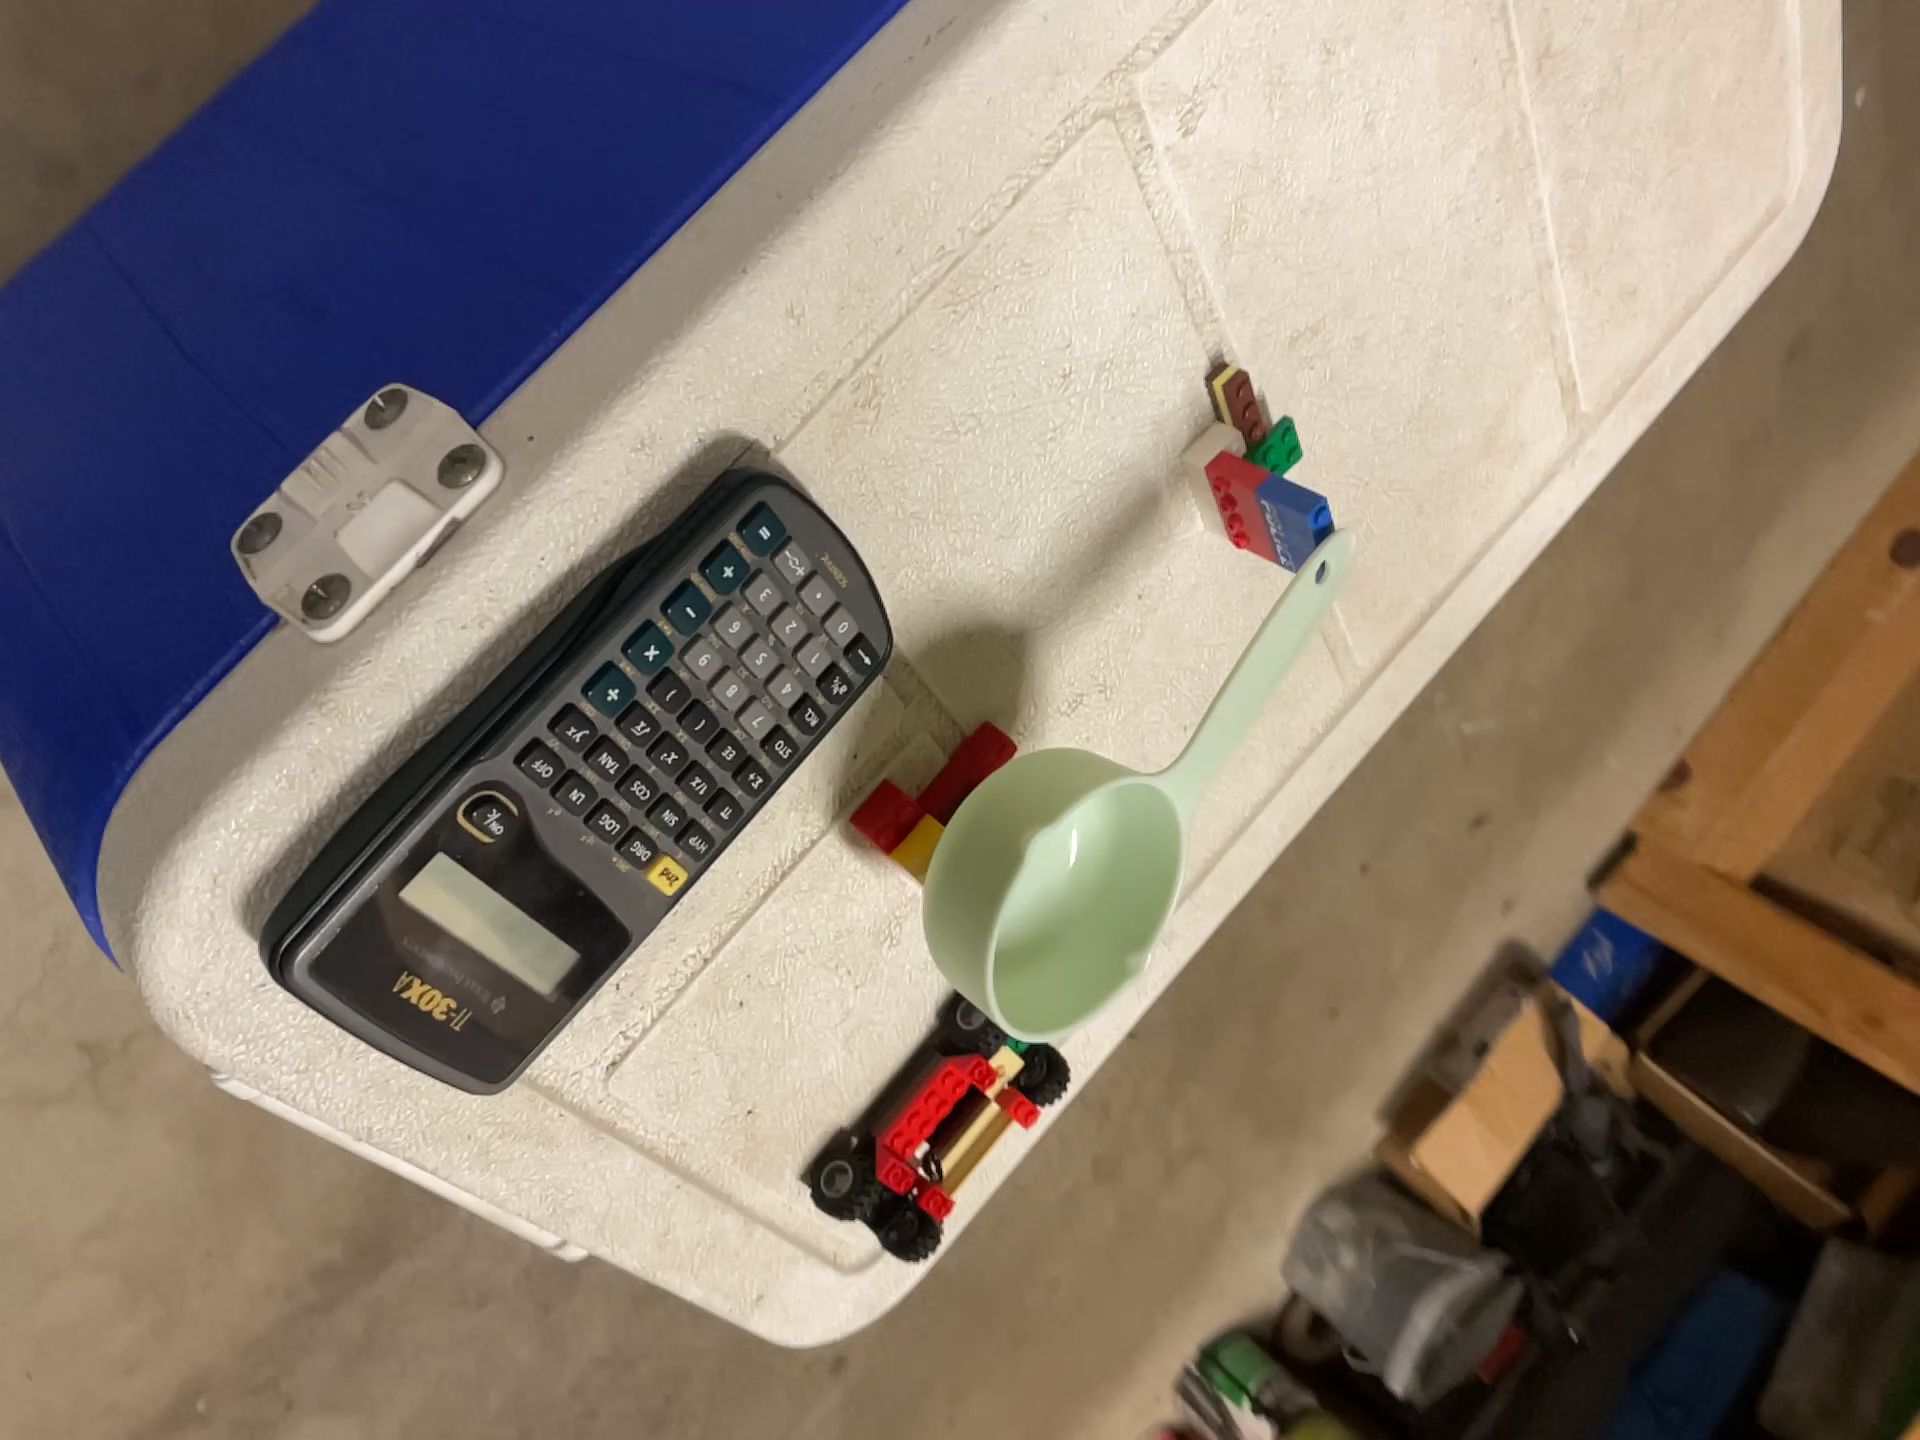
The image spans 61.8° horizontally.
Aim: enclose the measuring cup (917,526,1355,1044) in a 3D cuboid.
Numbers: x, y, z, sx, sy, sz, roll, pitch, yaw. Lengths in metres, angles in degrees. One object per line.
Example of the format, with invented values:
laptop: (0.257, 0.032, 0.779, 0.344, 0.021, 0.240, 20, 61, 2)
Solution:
measuring cup: (0.049, 0.008, 0.436, 0.167, 0.038, 0.083, -53, 139, -12)
